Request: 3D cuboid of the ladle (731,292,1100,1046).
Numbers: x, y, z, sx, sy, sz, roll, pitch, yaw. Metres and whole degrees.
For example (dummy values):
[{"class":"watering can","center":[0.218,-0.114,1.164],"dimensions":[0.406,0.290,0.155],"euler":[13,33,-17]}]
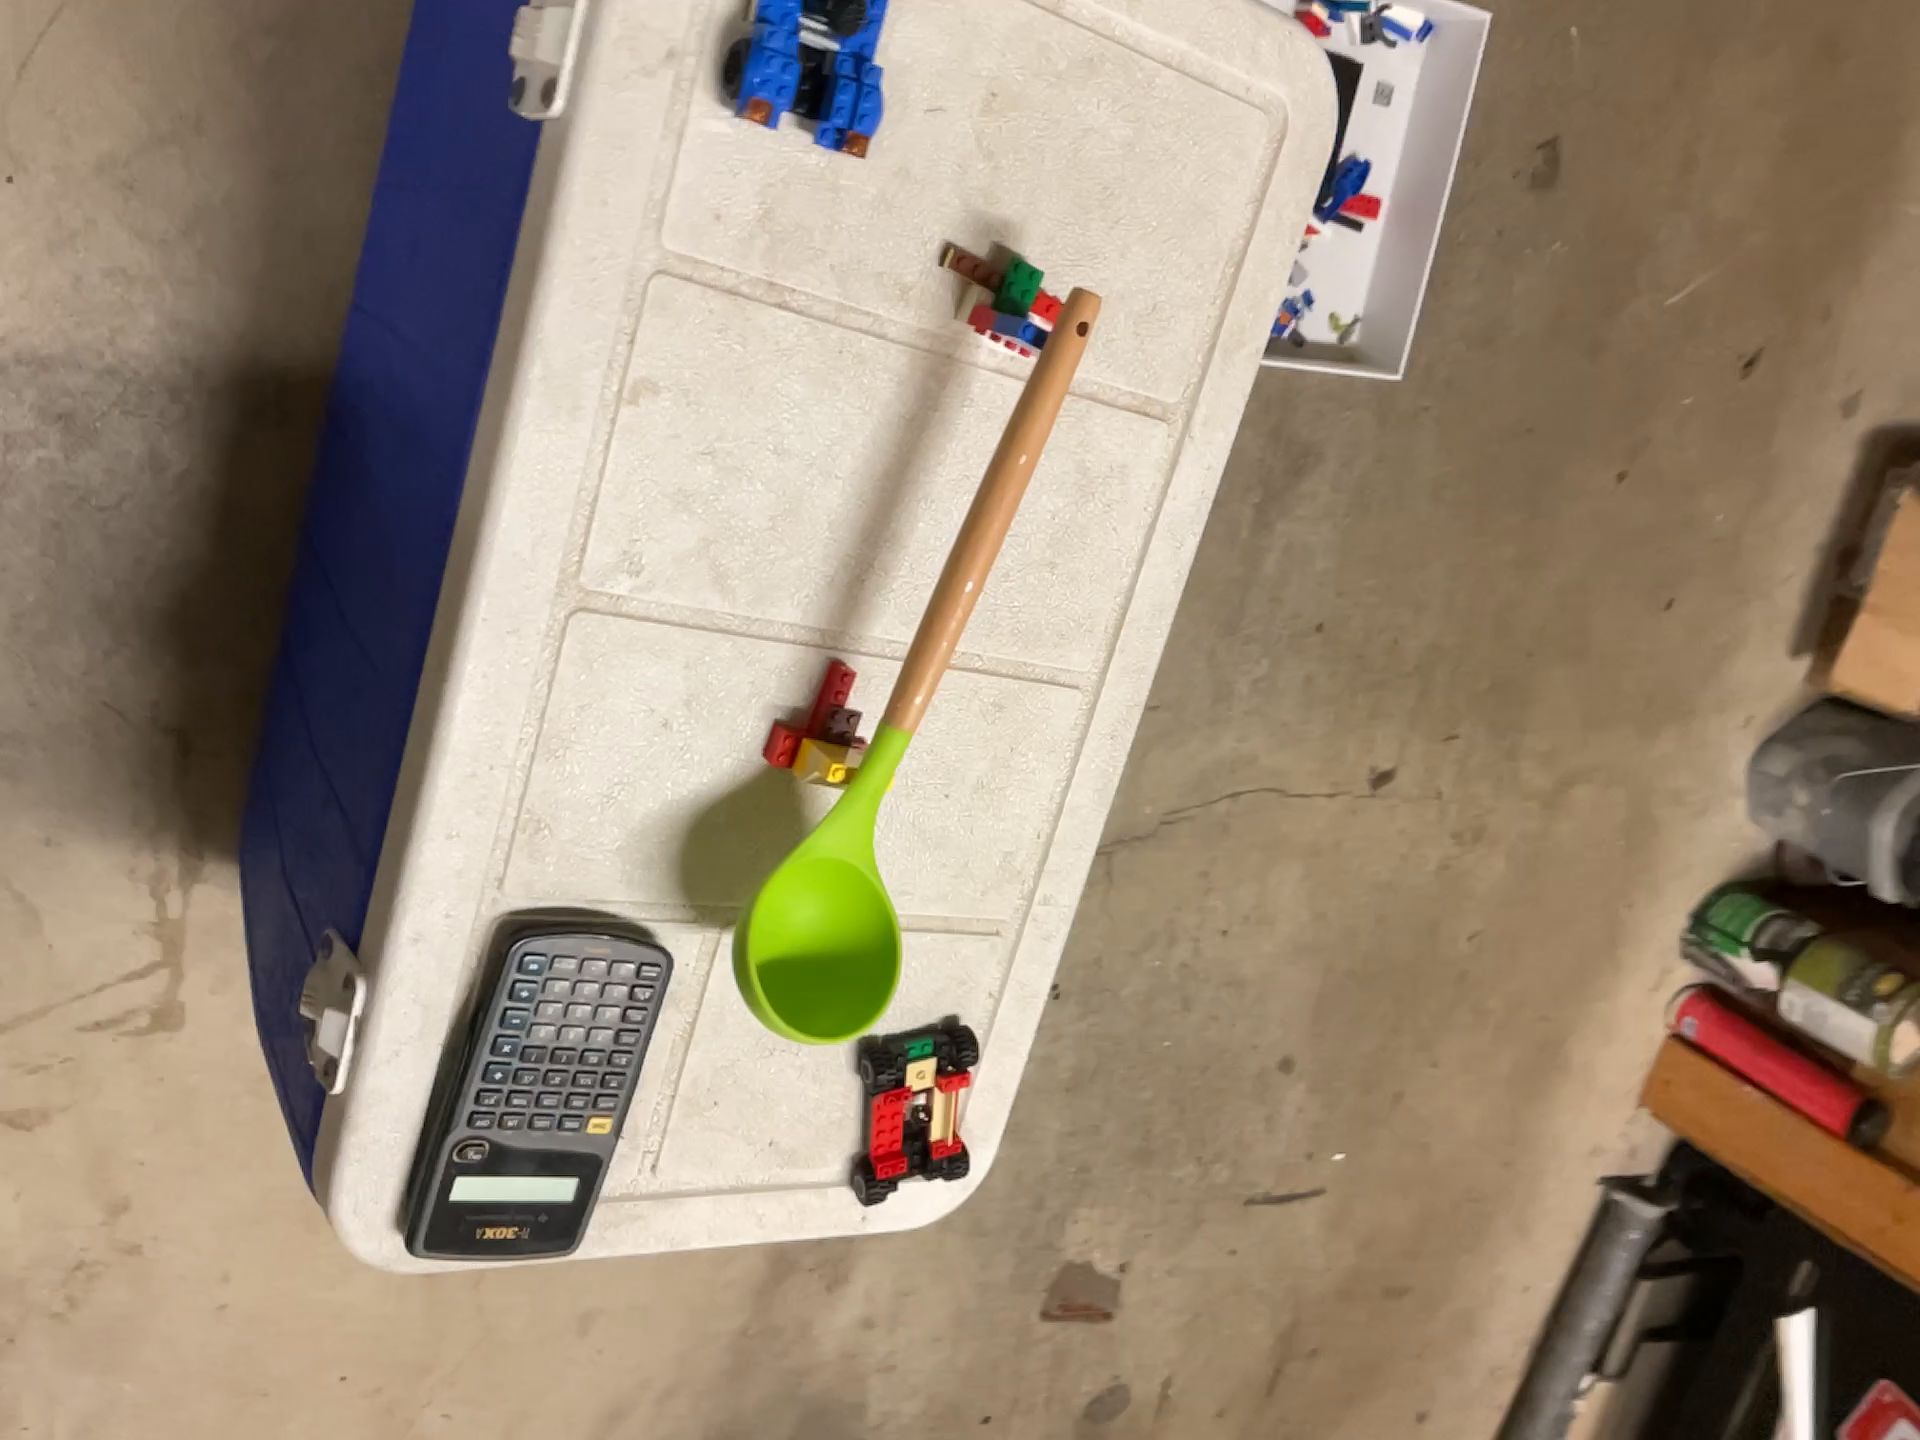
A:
[{"class":"ladle","center":[-0.010,-0.016,0.638],"dimensions":[0.078,0.062,0.320],"euler":[16,103,-36]}]
